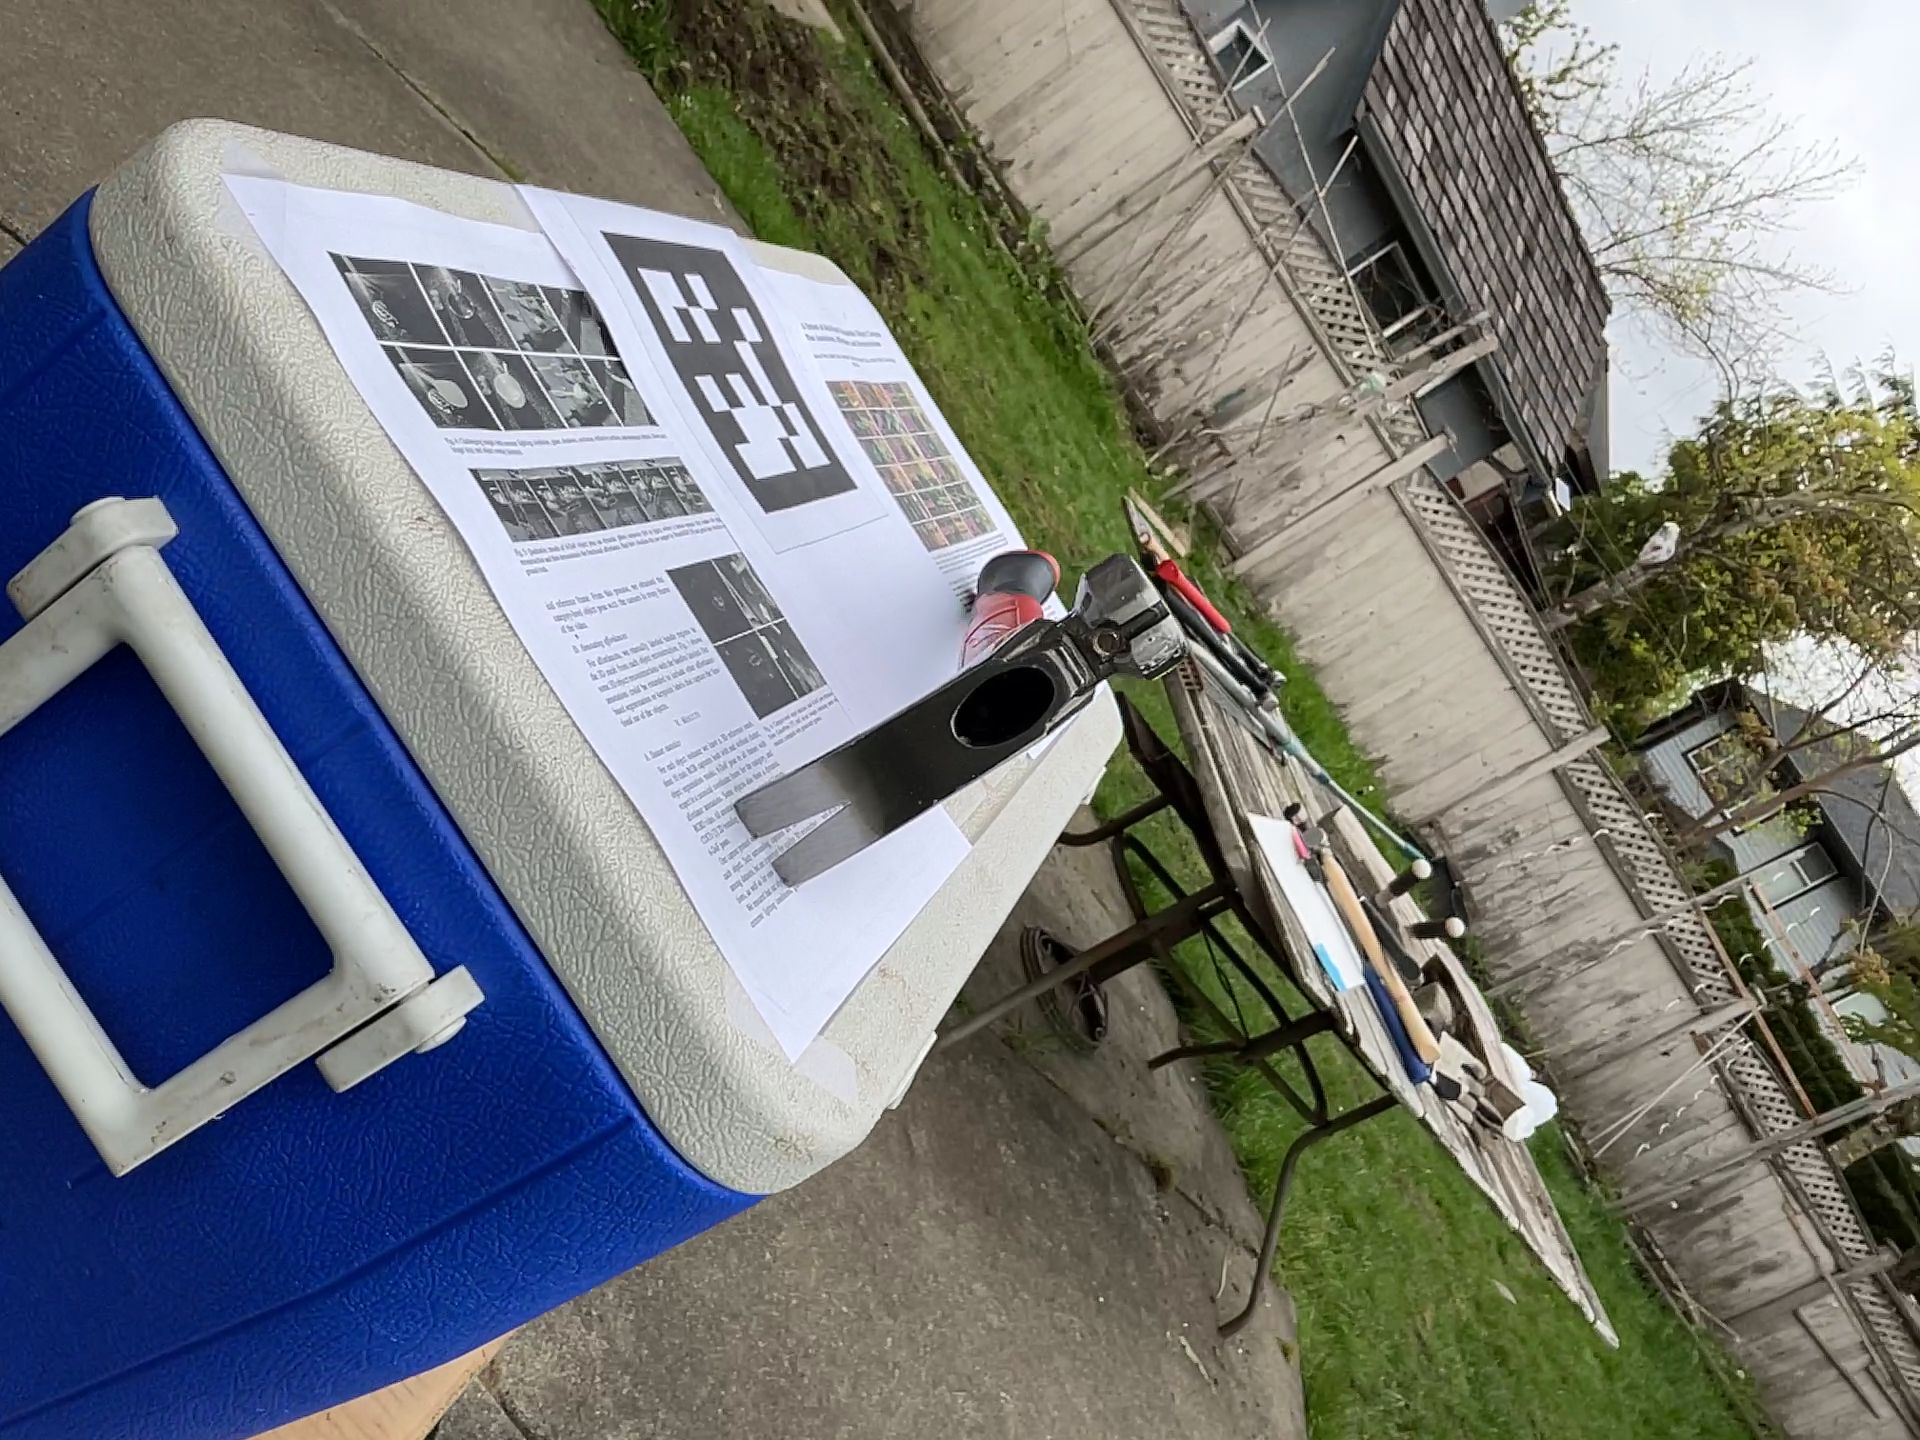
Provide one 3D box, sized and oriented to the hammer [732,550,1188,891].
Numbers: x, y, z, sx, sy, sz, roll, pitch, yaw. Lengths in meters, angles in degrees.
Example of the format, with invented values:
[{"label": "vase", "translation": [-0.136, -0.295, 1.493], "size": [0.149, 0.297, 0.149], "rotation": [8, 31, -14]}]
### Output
[{"label": "hammer", "translation": [0.004, -0.027, 0.652], "size": [0.038, 0.143, 0.386], "rotation": [57, 7, -7]}]
